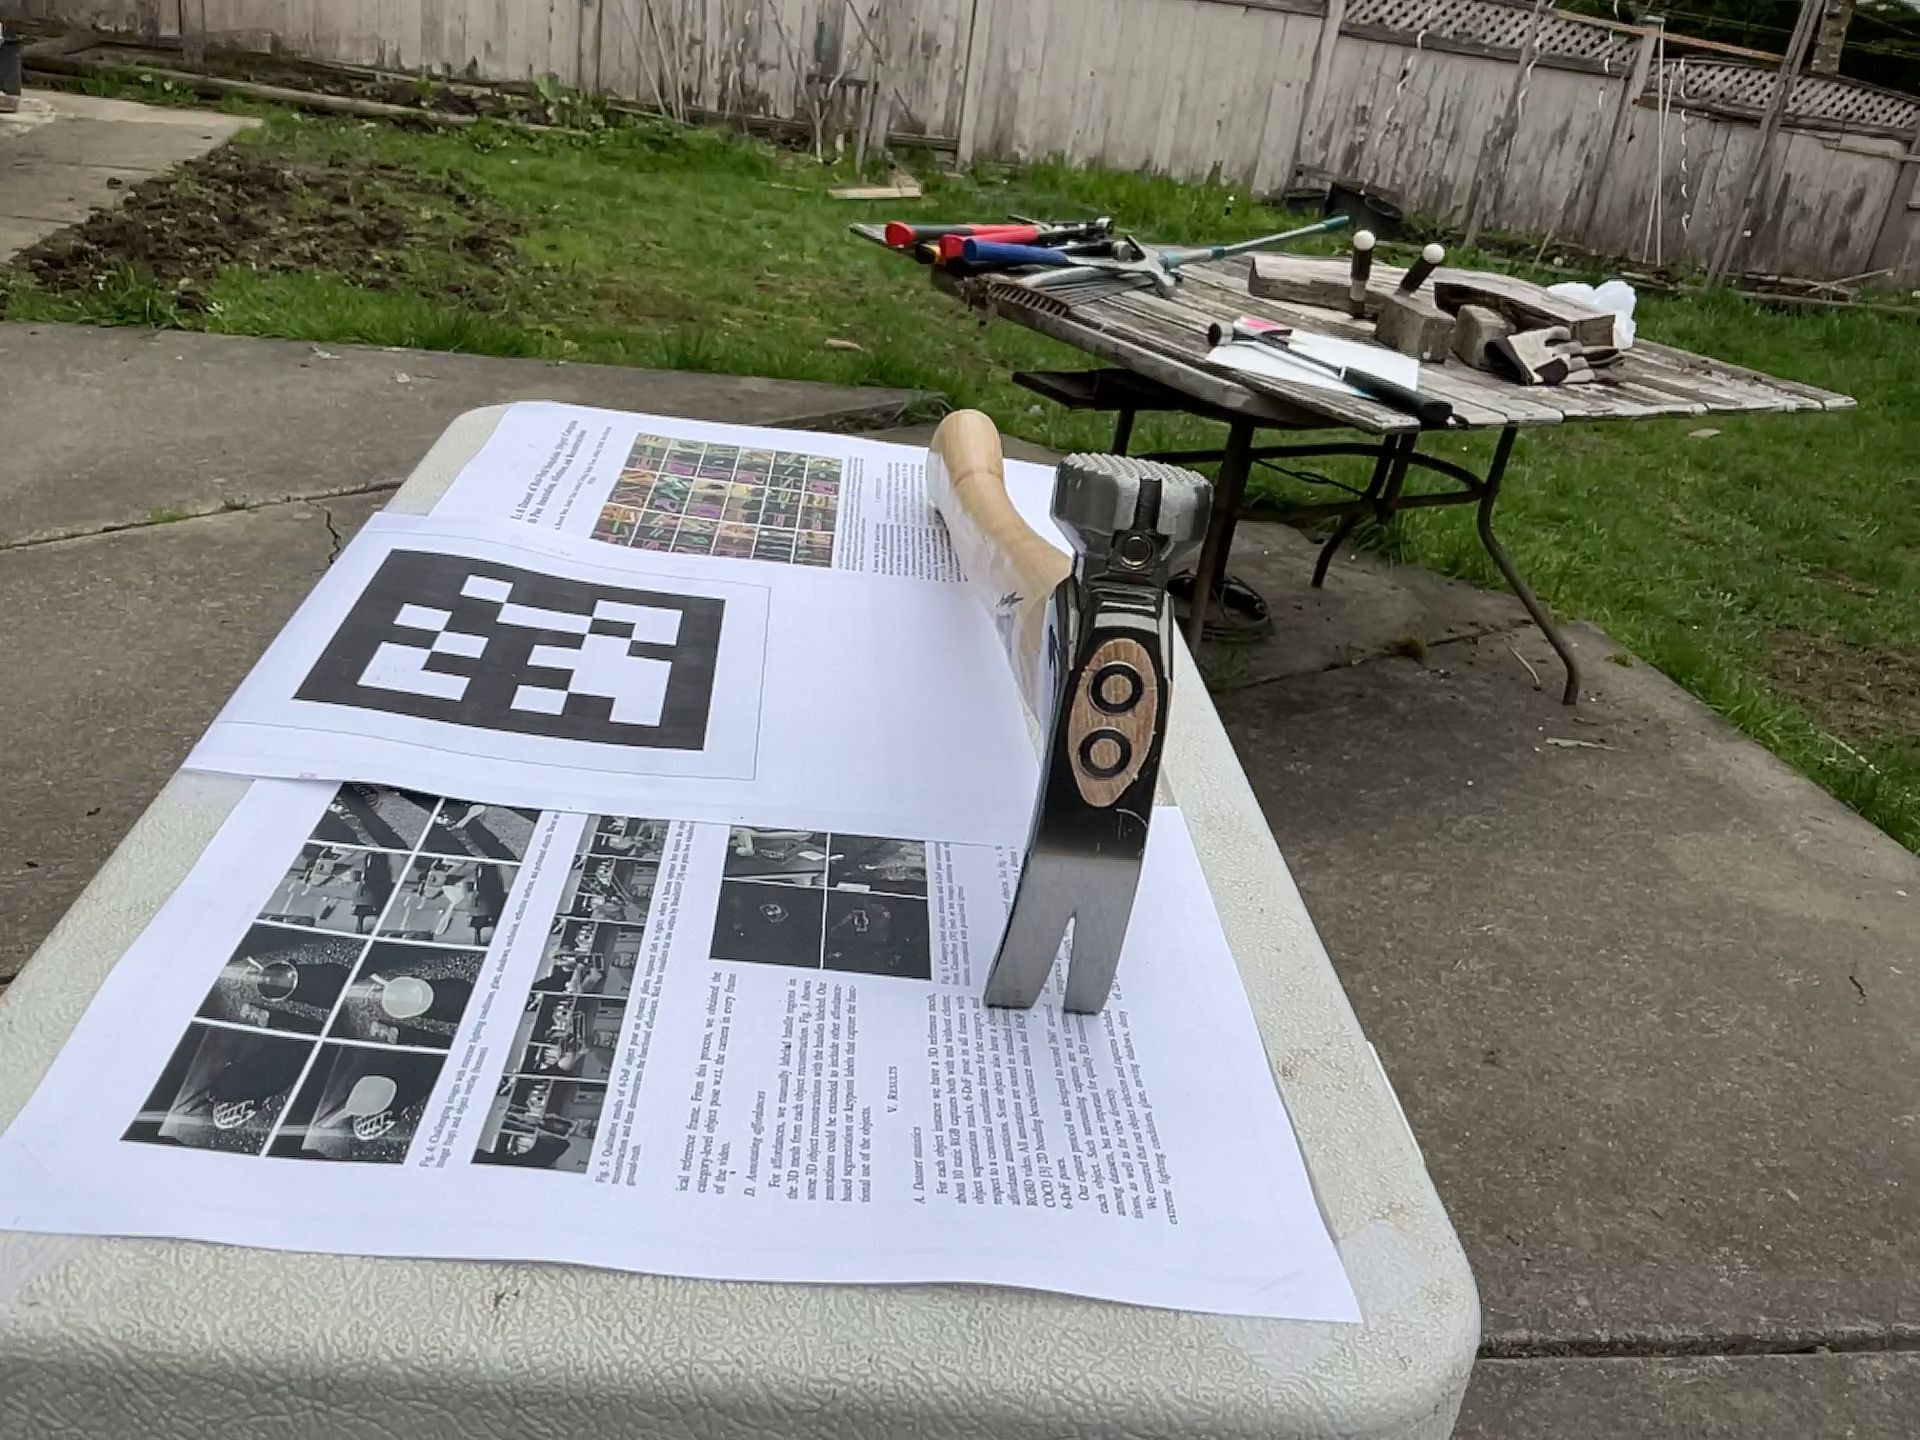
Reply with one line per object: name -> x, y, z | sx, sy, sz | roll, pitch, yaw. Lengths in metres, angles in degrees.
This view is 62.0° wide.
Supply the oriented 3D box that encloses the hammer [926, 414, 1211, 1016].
hammer -> 0.015, -0.047, 0.582 | 0.038, 0.146, 0.411 | 6, 16, -7
